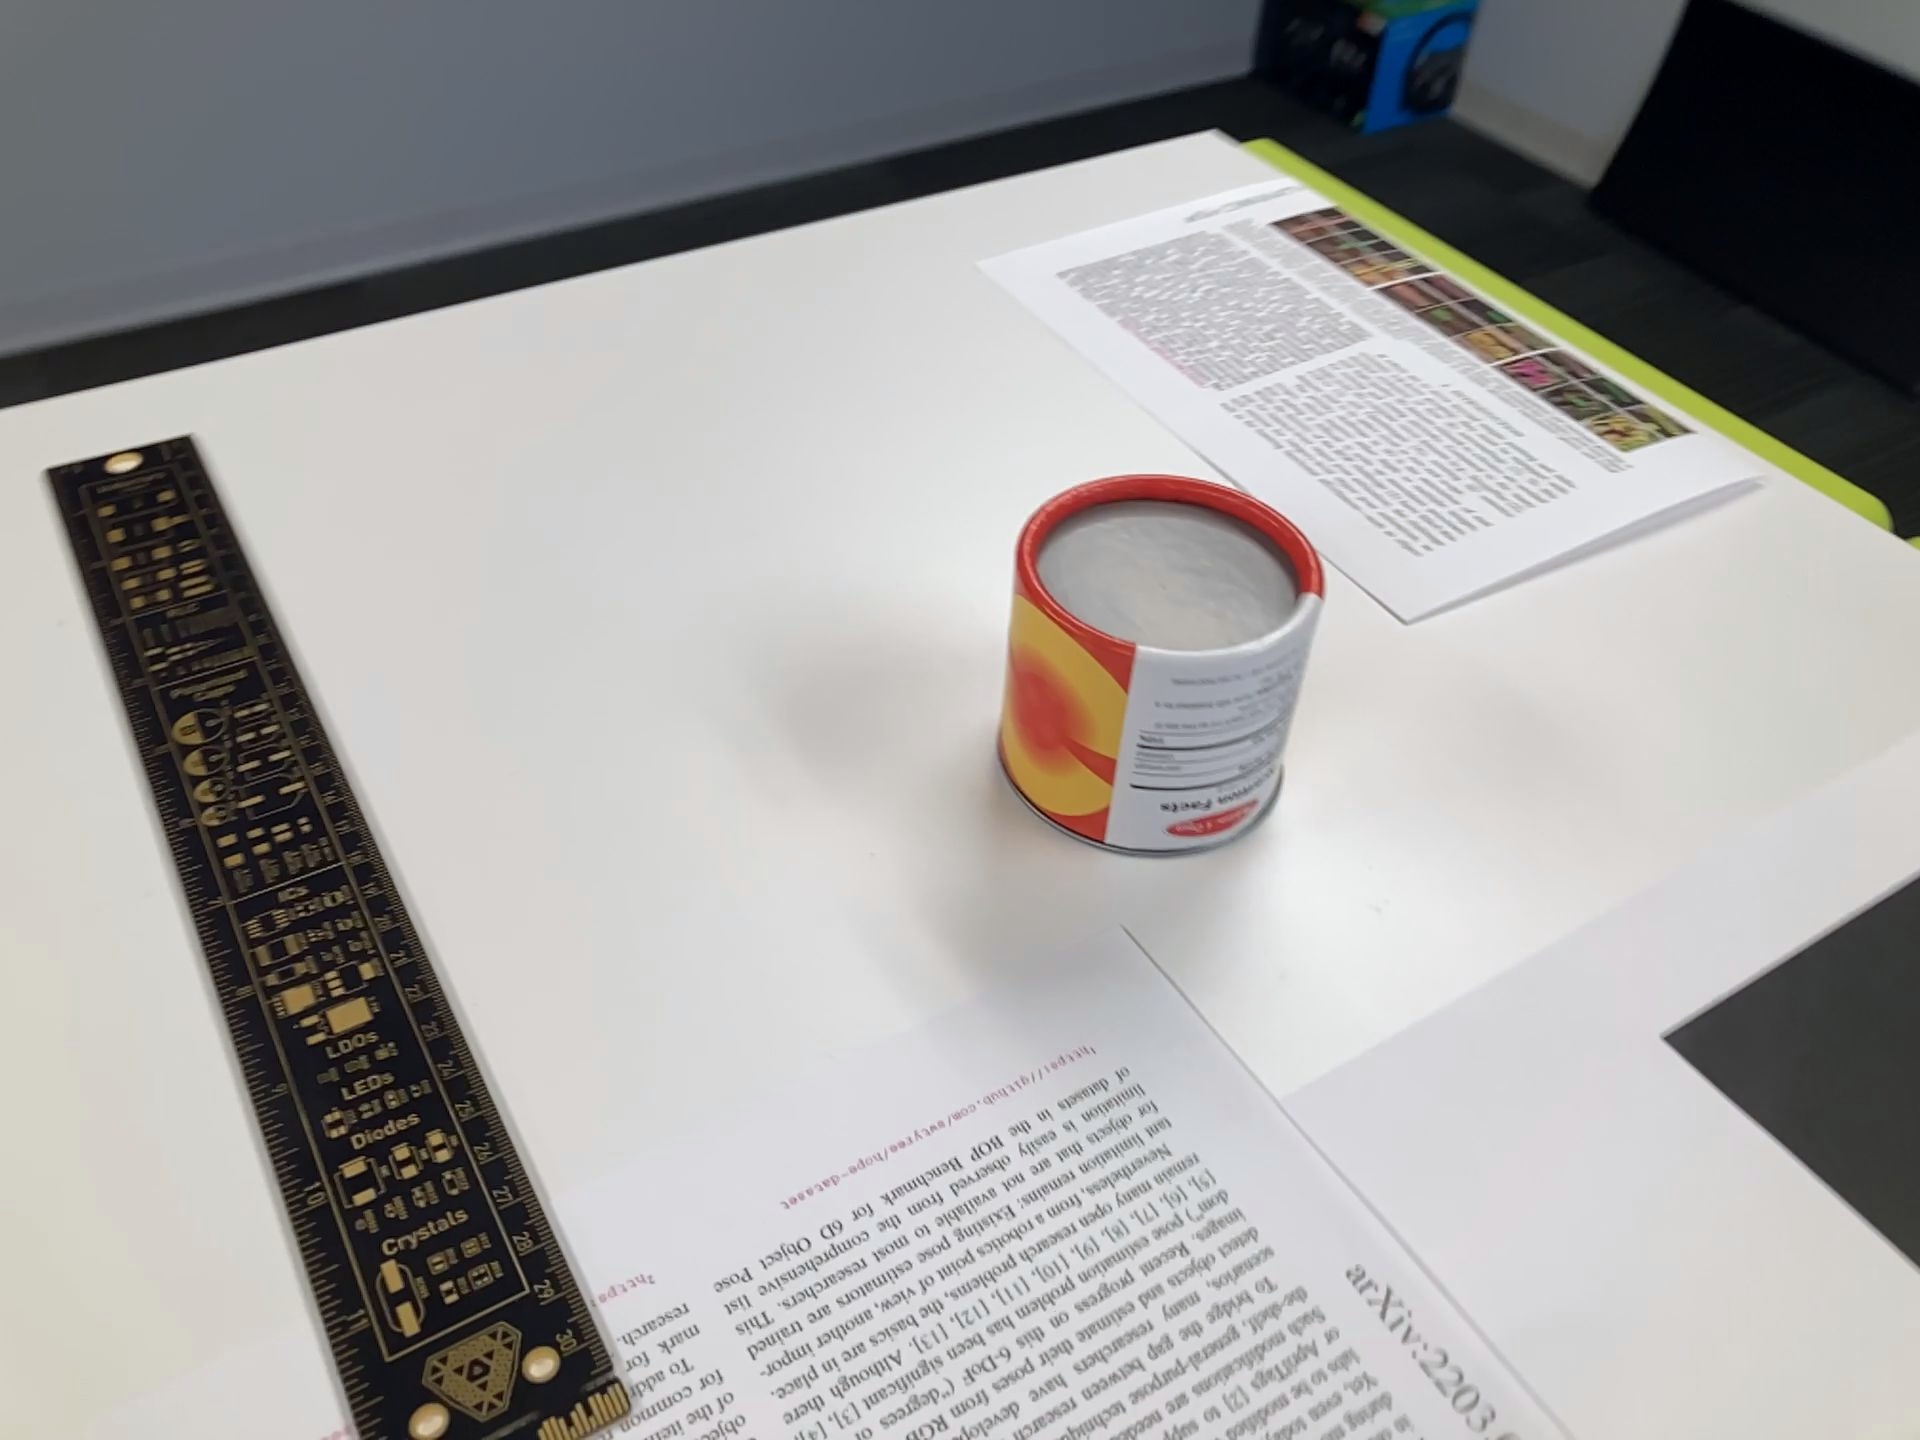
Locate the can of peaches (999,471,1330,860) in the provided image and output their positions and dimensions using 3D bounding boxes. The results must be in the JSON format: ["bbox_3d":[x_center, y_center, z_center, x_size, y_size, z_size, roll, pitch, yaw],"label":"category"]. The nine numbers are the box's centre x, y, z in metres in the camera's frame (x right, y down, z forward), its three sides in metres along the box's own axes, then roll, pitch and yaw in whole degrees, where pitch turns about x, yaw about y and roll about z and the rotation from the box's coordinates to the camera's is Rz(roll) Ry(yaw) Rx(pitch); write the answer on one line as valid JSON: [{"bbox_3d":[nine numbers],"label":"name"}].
[{"bbox_3d":[0.042,-0.014,0.348,0.071,0.058,0.071,2,44,-2],"label":"can of peaches"}]
